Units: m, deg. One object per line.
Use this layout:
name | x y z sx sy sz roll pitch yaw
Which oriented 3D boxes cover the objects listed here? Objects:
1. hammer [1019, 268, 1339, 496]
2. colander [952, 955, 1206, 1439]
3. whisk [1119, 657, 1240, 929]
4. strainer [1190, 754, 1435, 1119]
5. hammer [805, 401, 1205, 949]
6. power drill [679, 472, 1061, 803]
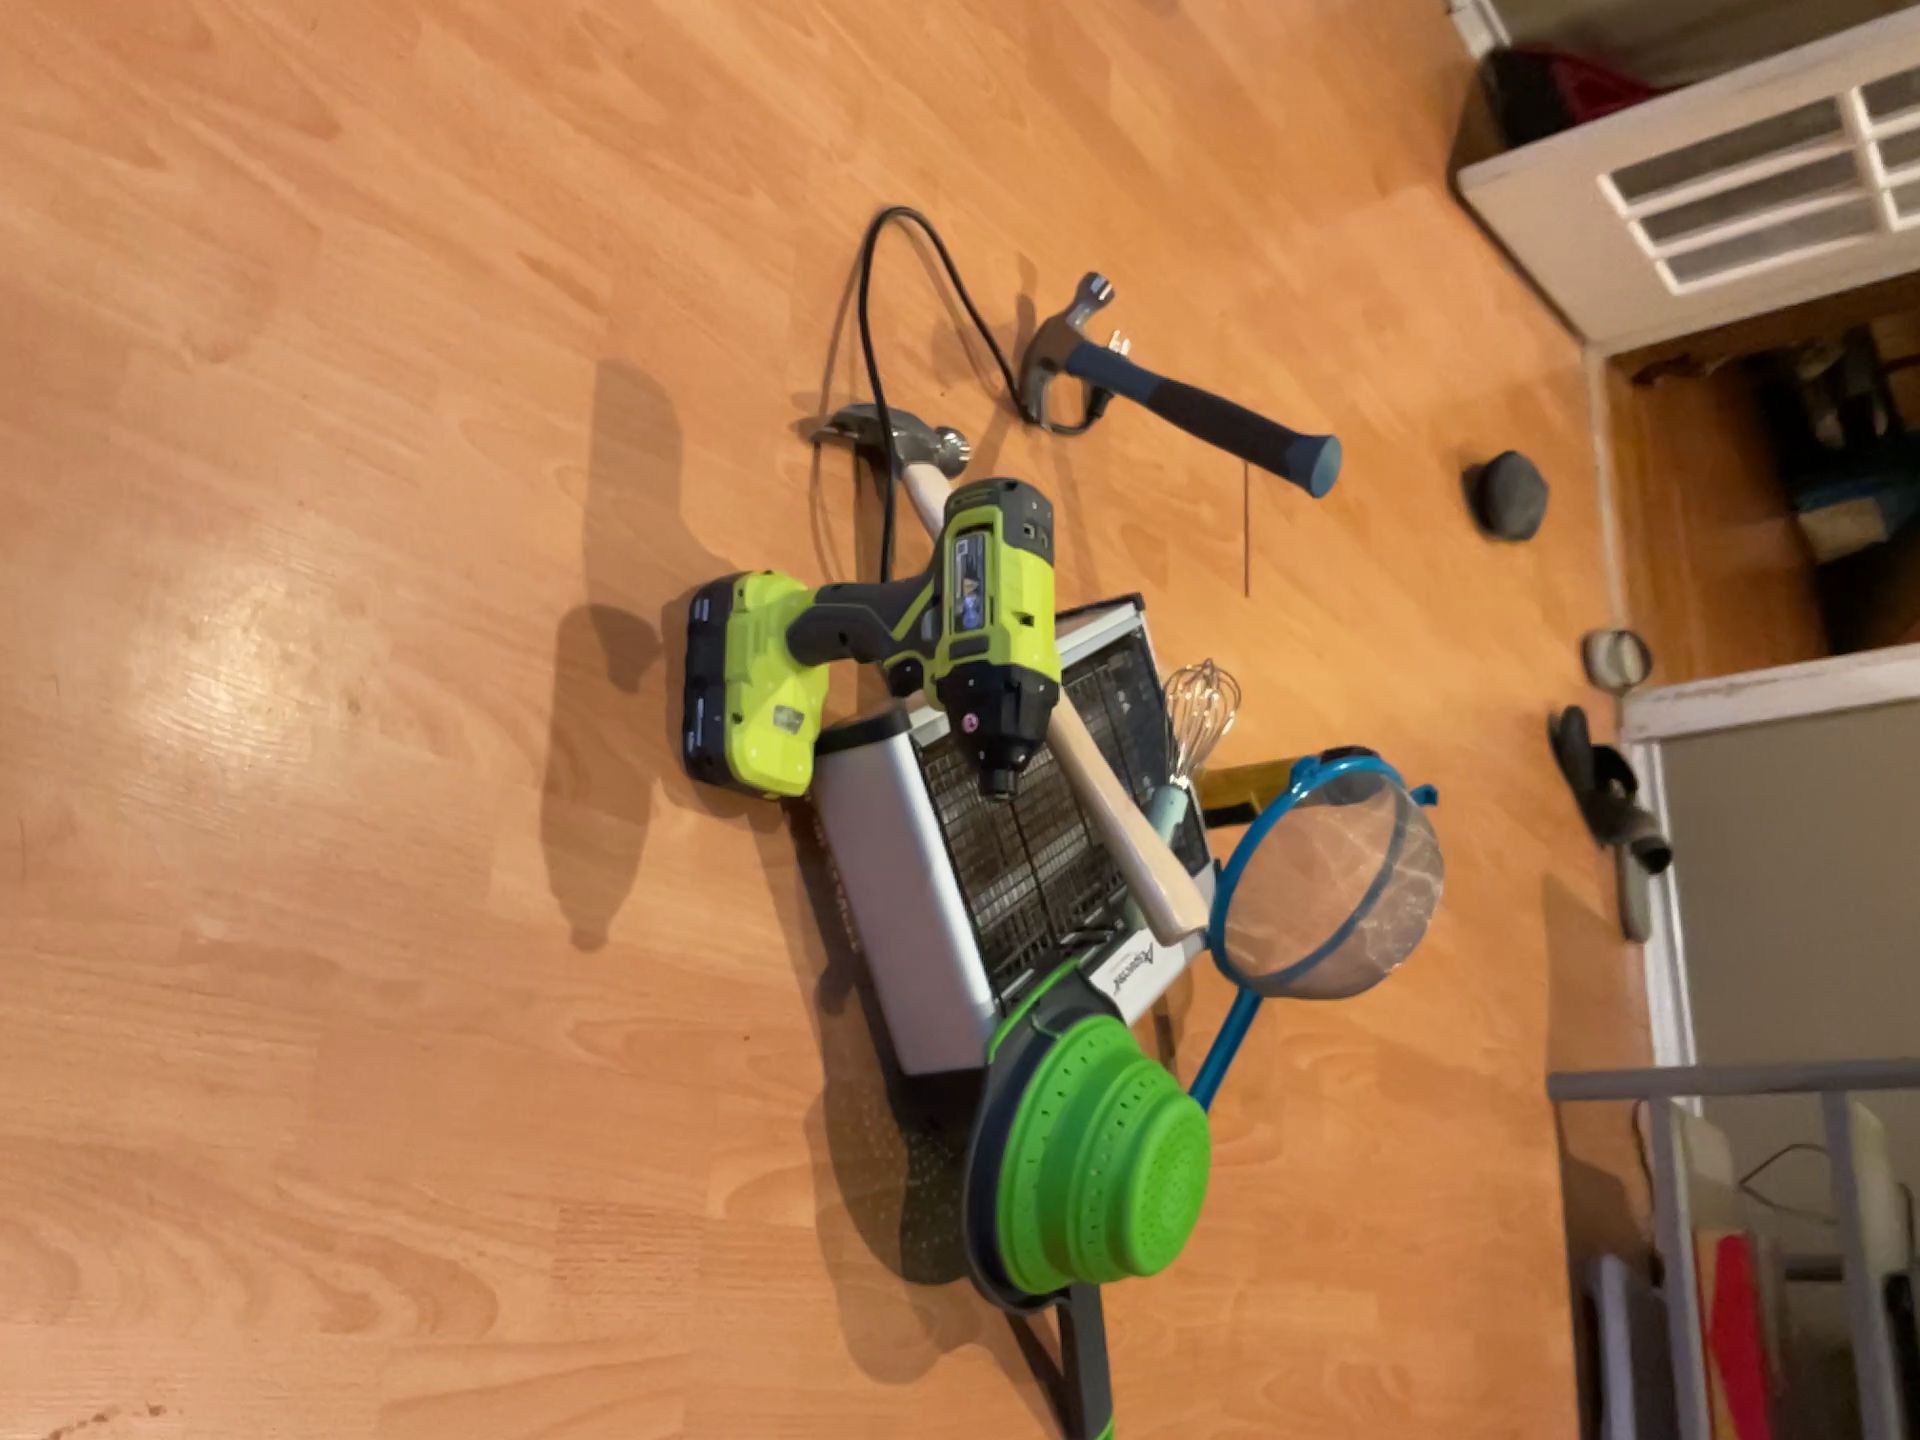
hammer | 0.159 -0.244 1.207 0.128 0.331 0.033 -52 135 1
colander | 0.099 0.347 1.028 0.205 0.094 0.396 -37 128 -46
whisk | 0.158 0.049 1.183 0.057 0.059 0.246 85 22 -52
strainer | 0.272 0.196 1.248 0.211 0.095 0.340 12 106 -43
hammer | 0.036 -0.037 1.044 0.146 0.038 0.410 0 57 -57
power drill | -0.048 -0.029 0.887 0.080 0.223 0.171 22 63 -51
